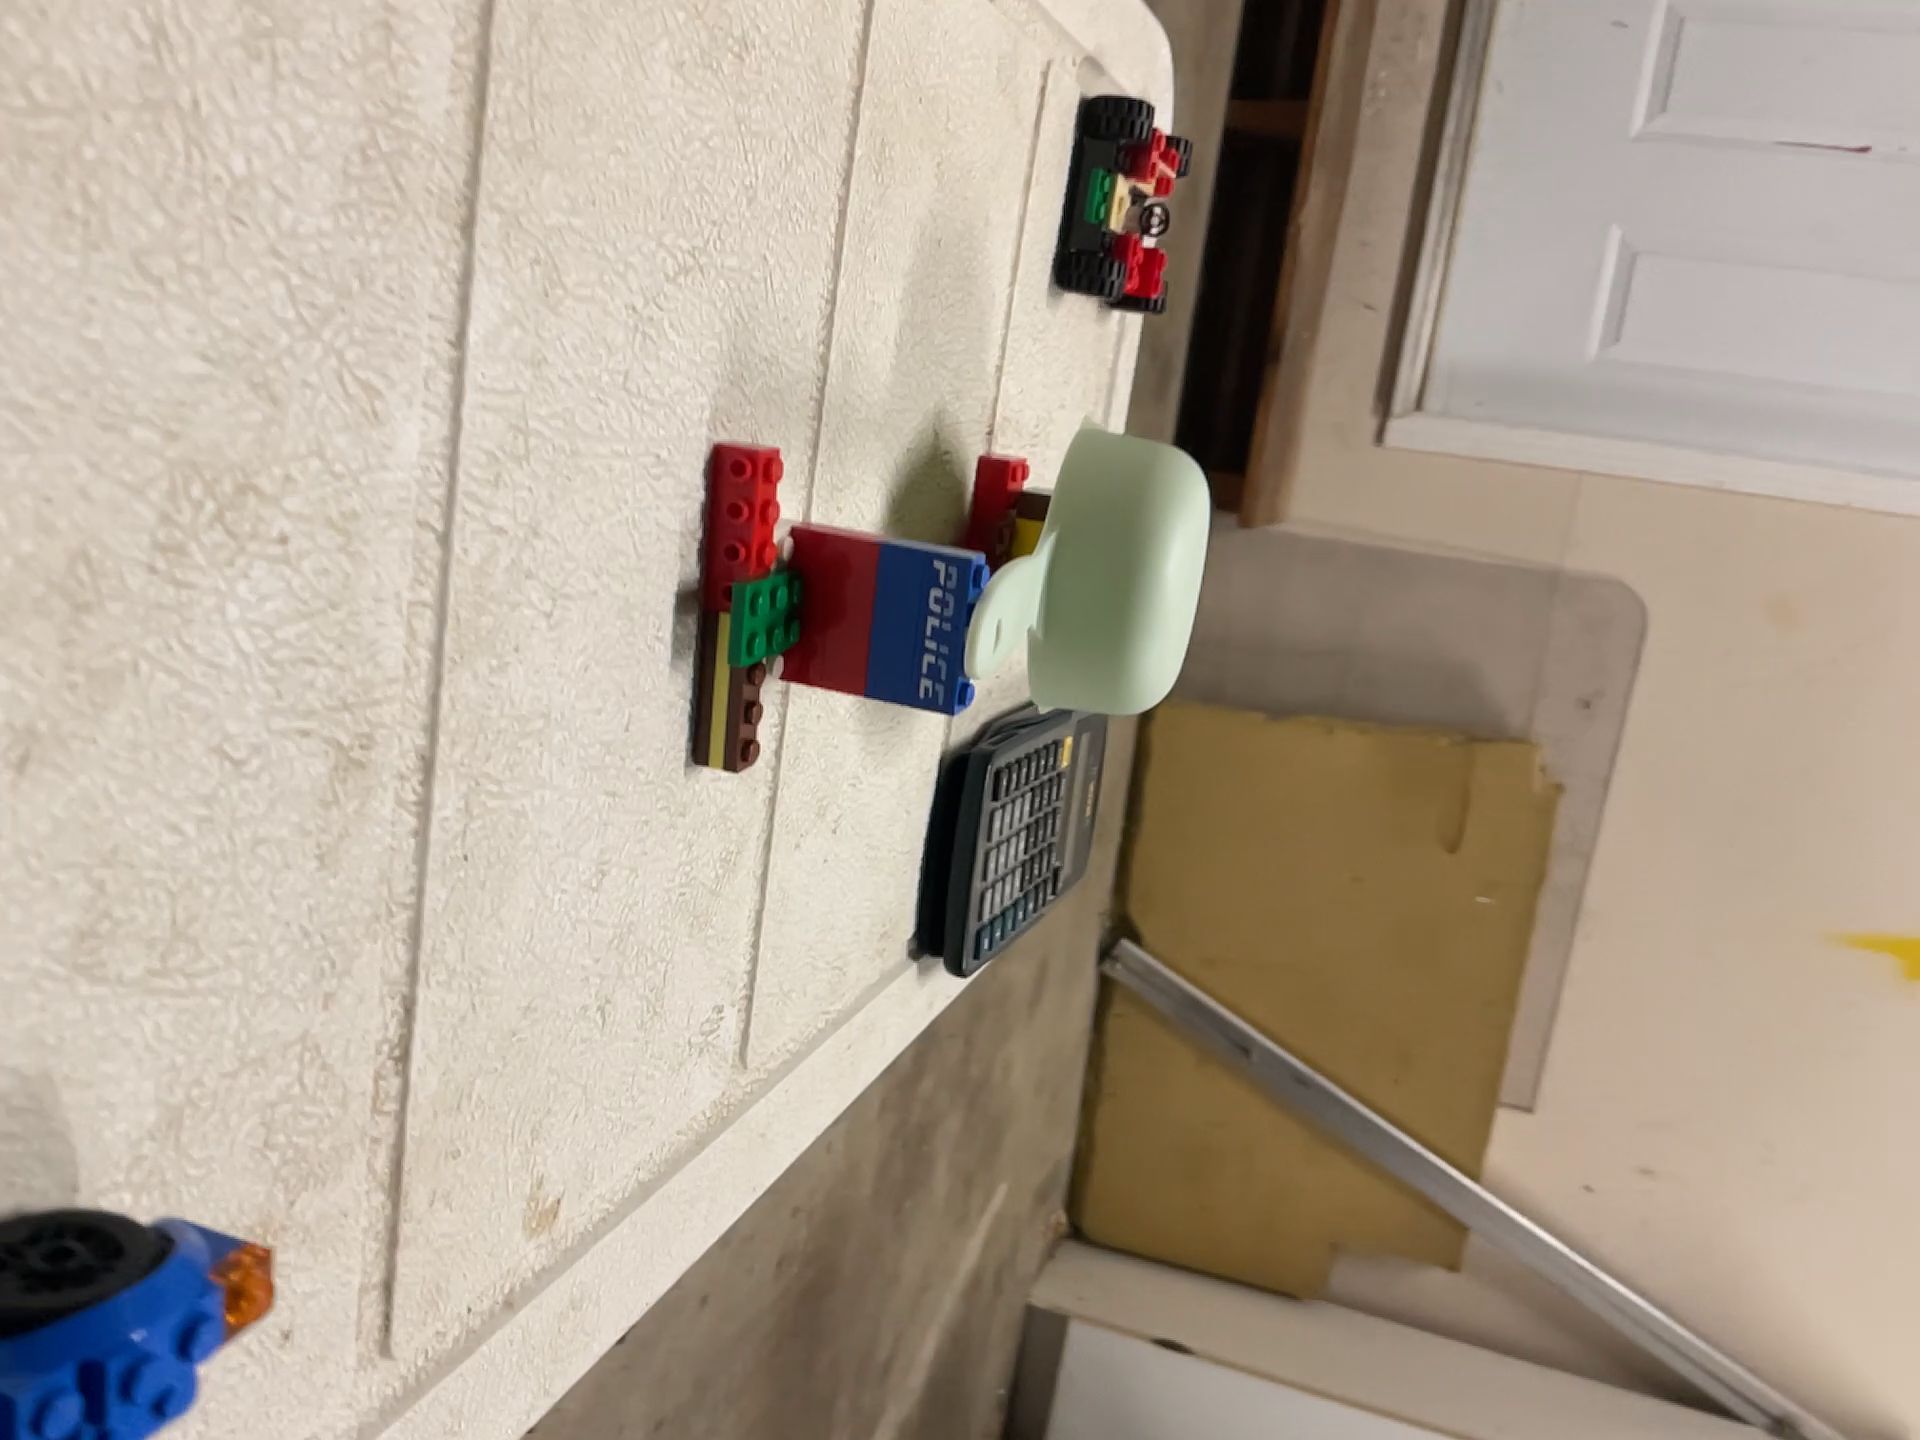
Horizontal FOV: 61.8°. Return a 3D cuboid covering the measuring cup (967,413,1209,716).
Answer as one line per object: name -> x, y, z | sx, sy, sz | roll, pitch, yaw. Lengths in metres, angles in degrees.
measuring cup -> 0.034, -0.029, 0.387 | 0.167, 0.038, 0.083 | -44, 143, -73
